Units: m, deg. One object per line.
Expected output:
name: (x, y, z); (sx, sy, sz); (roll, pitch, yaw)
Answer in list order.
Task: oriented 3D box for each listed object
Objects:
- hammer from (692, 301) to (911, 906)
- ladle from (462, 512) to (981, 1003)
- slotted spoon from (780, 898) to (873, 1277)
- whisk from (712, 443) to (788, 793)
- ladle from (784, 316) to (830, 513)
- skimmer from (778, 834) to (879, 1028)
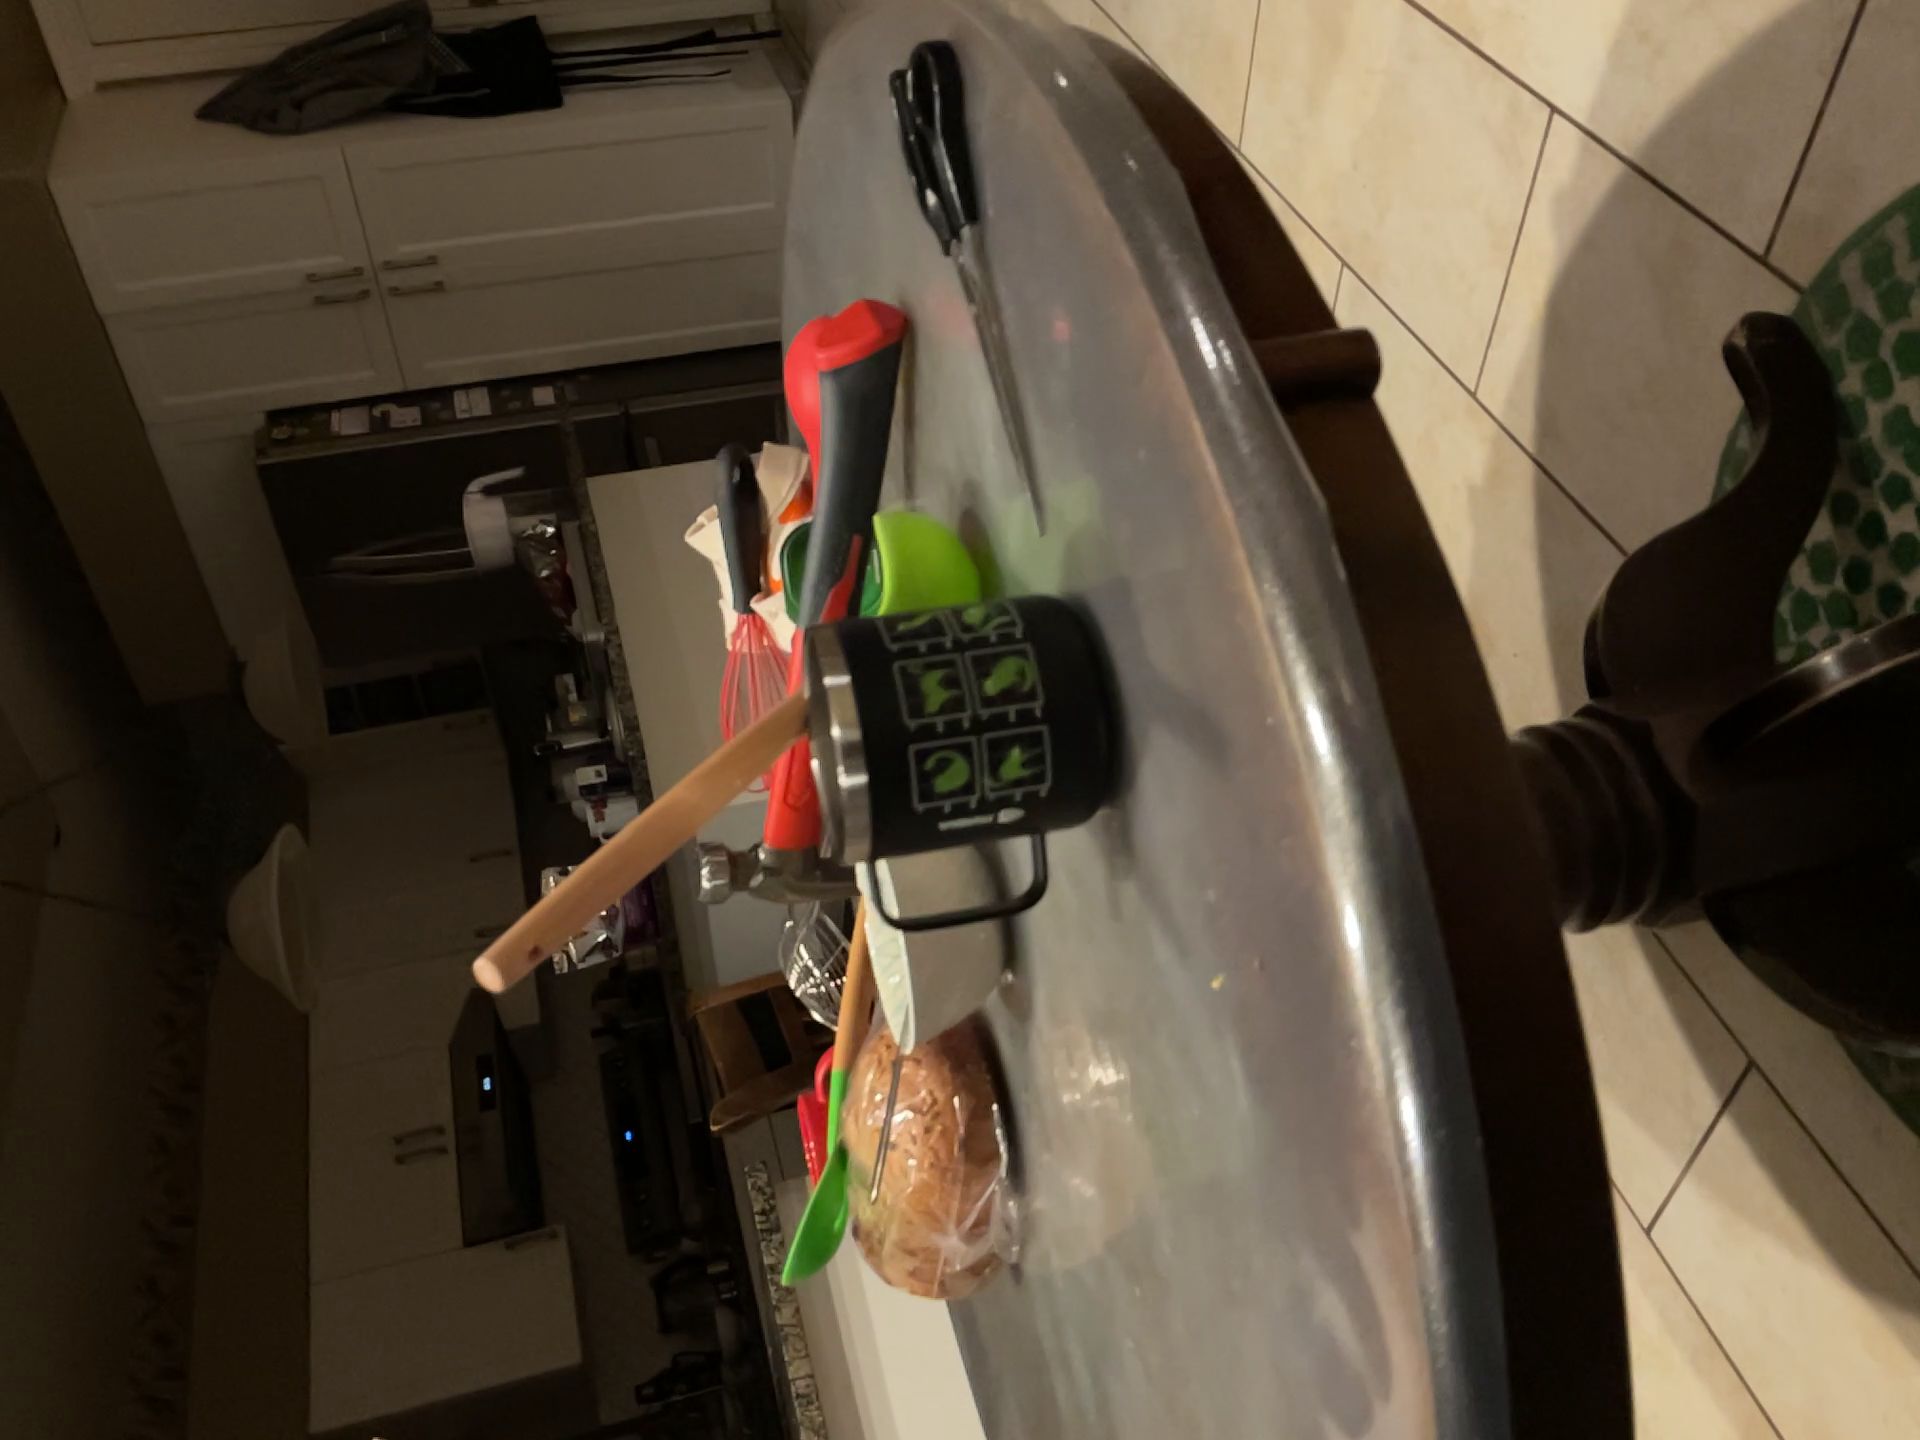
hammer: (-0.060, -0.044, 0.878); (0.038, 0.143, 0.386); (-115, 30, -46)
ladle: (-0.082, 0.006, 0.617); (0.062, 0.320, 0.078); (0, 120, 34)
slotted spoon: (-0.069, 0.197, 0.997); (0.070, 0.031, 0.314); (101, 178, -49)
whisk: (-0.155, -0.068, 1.171); (0.073, 0.073, 0.295); (-115, 19, -53)
ladle: (-0.088, -0.120, 1.059); (0.069, 0.031, 0.315); (-113, 15, -47)
skimmer: (-0.074, 0.103, 1.177); (0.127, 0.090, 0.363); (60, 148, 37)
